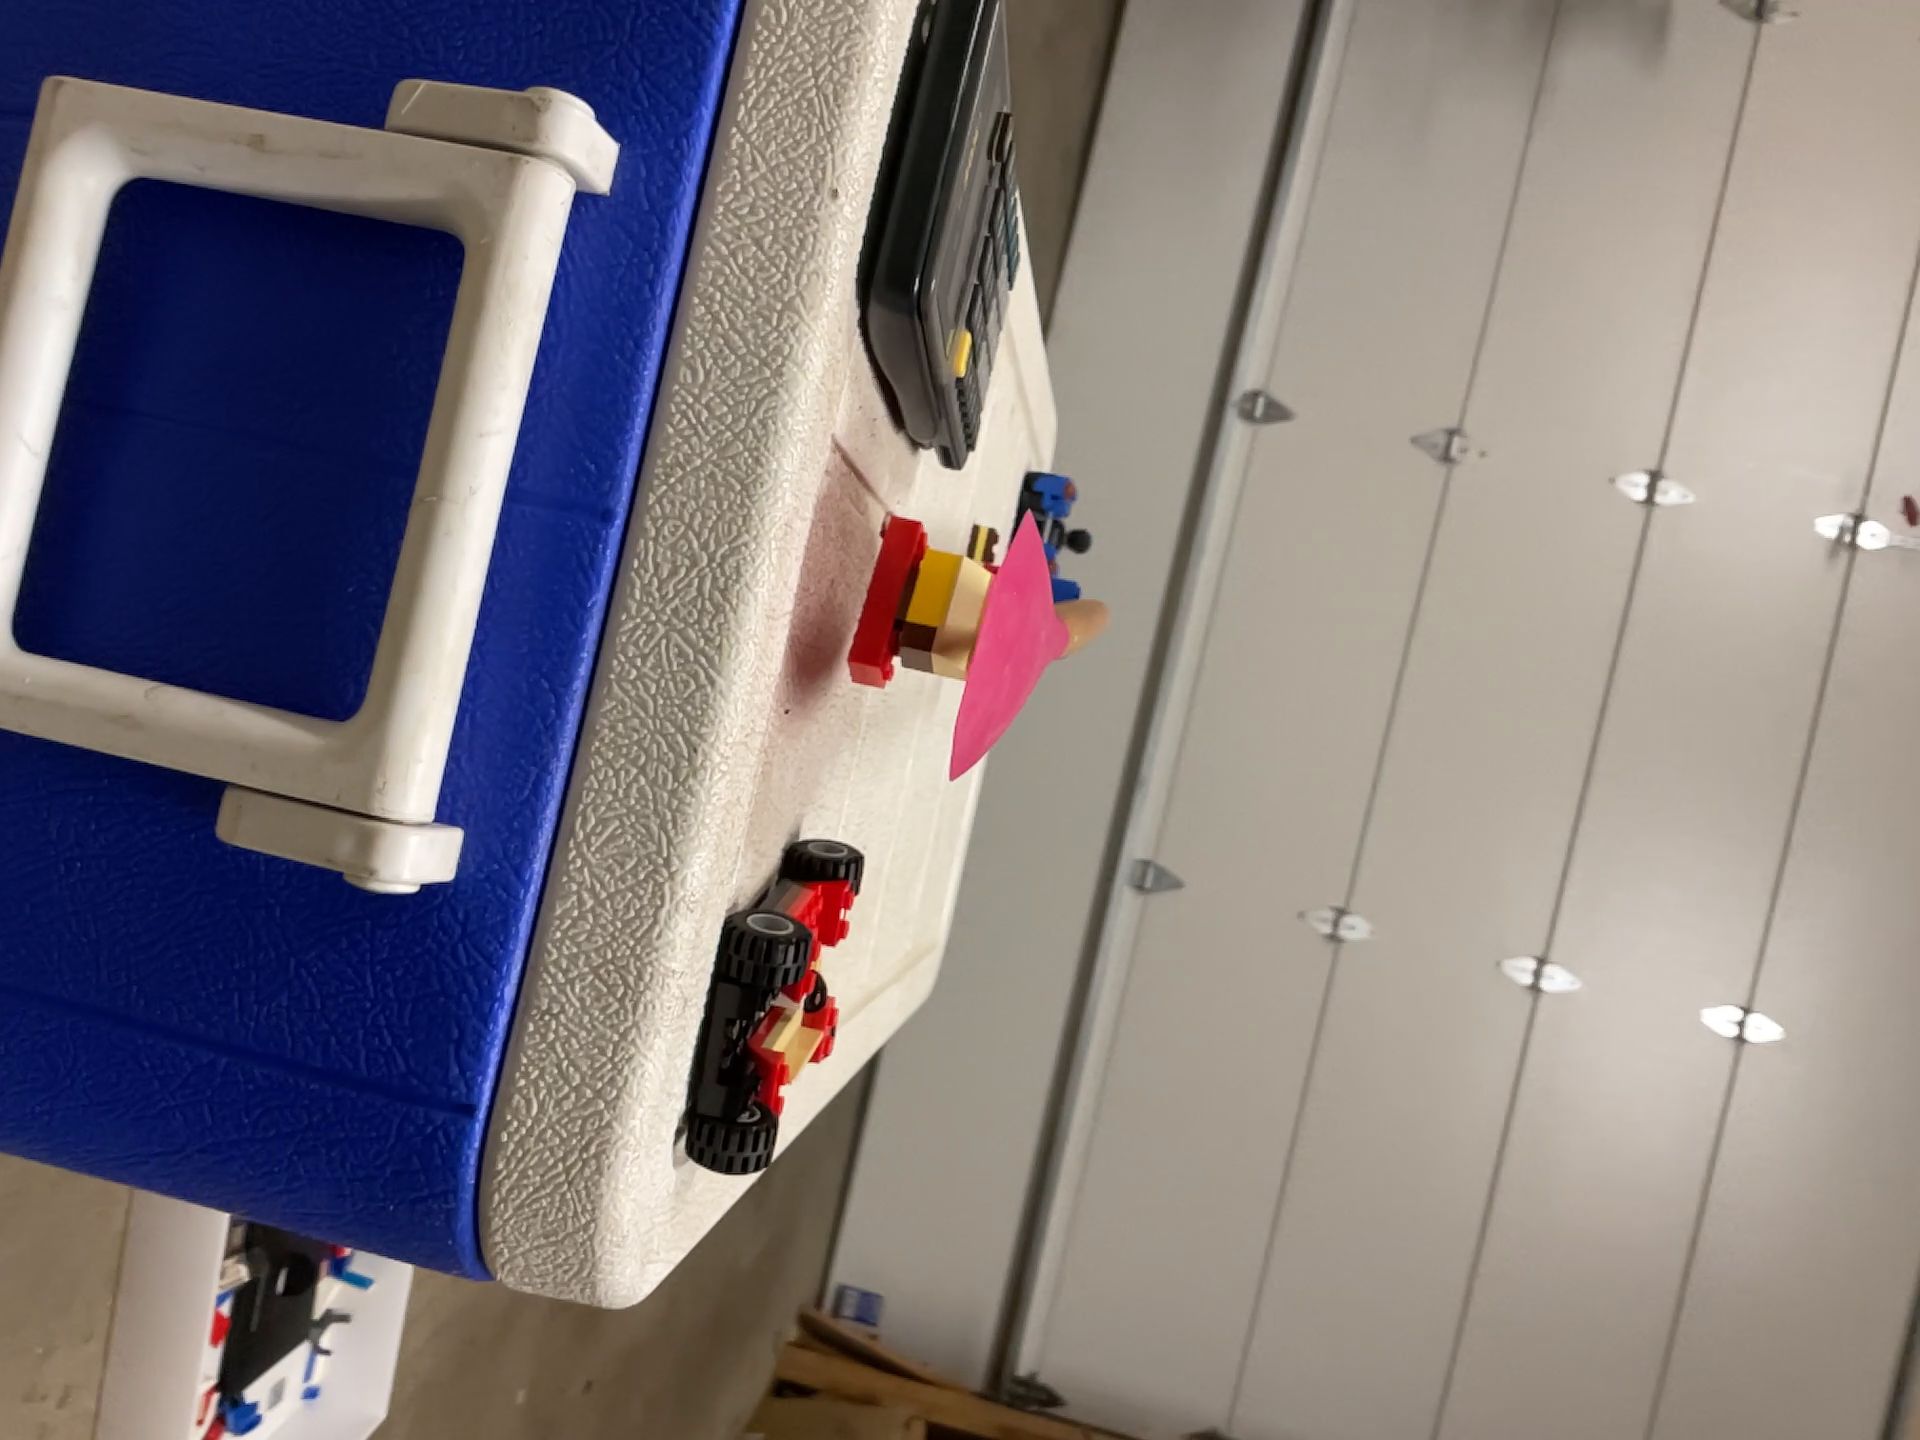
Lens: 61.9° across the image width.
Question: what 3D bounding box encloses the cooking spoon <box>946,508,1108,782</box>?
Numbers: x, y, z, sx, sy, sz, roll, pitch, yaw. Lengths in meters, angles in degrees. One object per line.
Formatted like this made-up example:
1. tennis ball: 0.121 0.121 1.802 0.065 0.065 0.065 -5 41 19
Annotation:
1. cooking spoon: 0.029 -0.028 0.498 0.319 0.017 0.068 -32 139 -80
